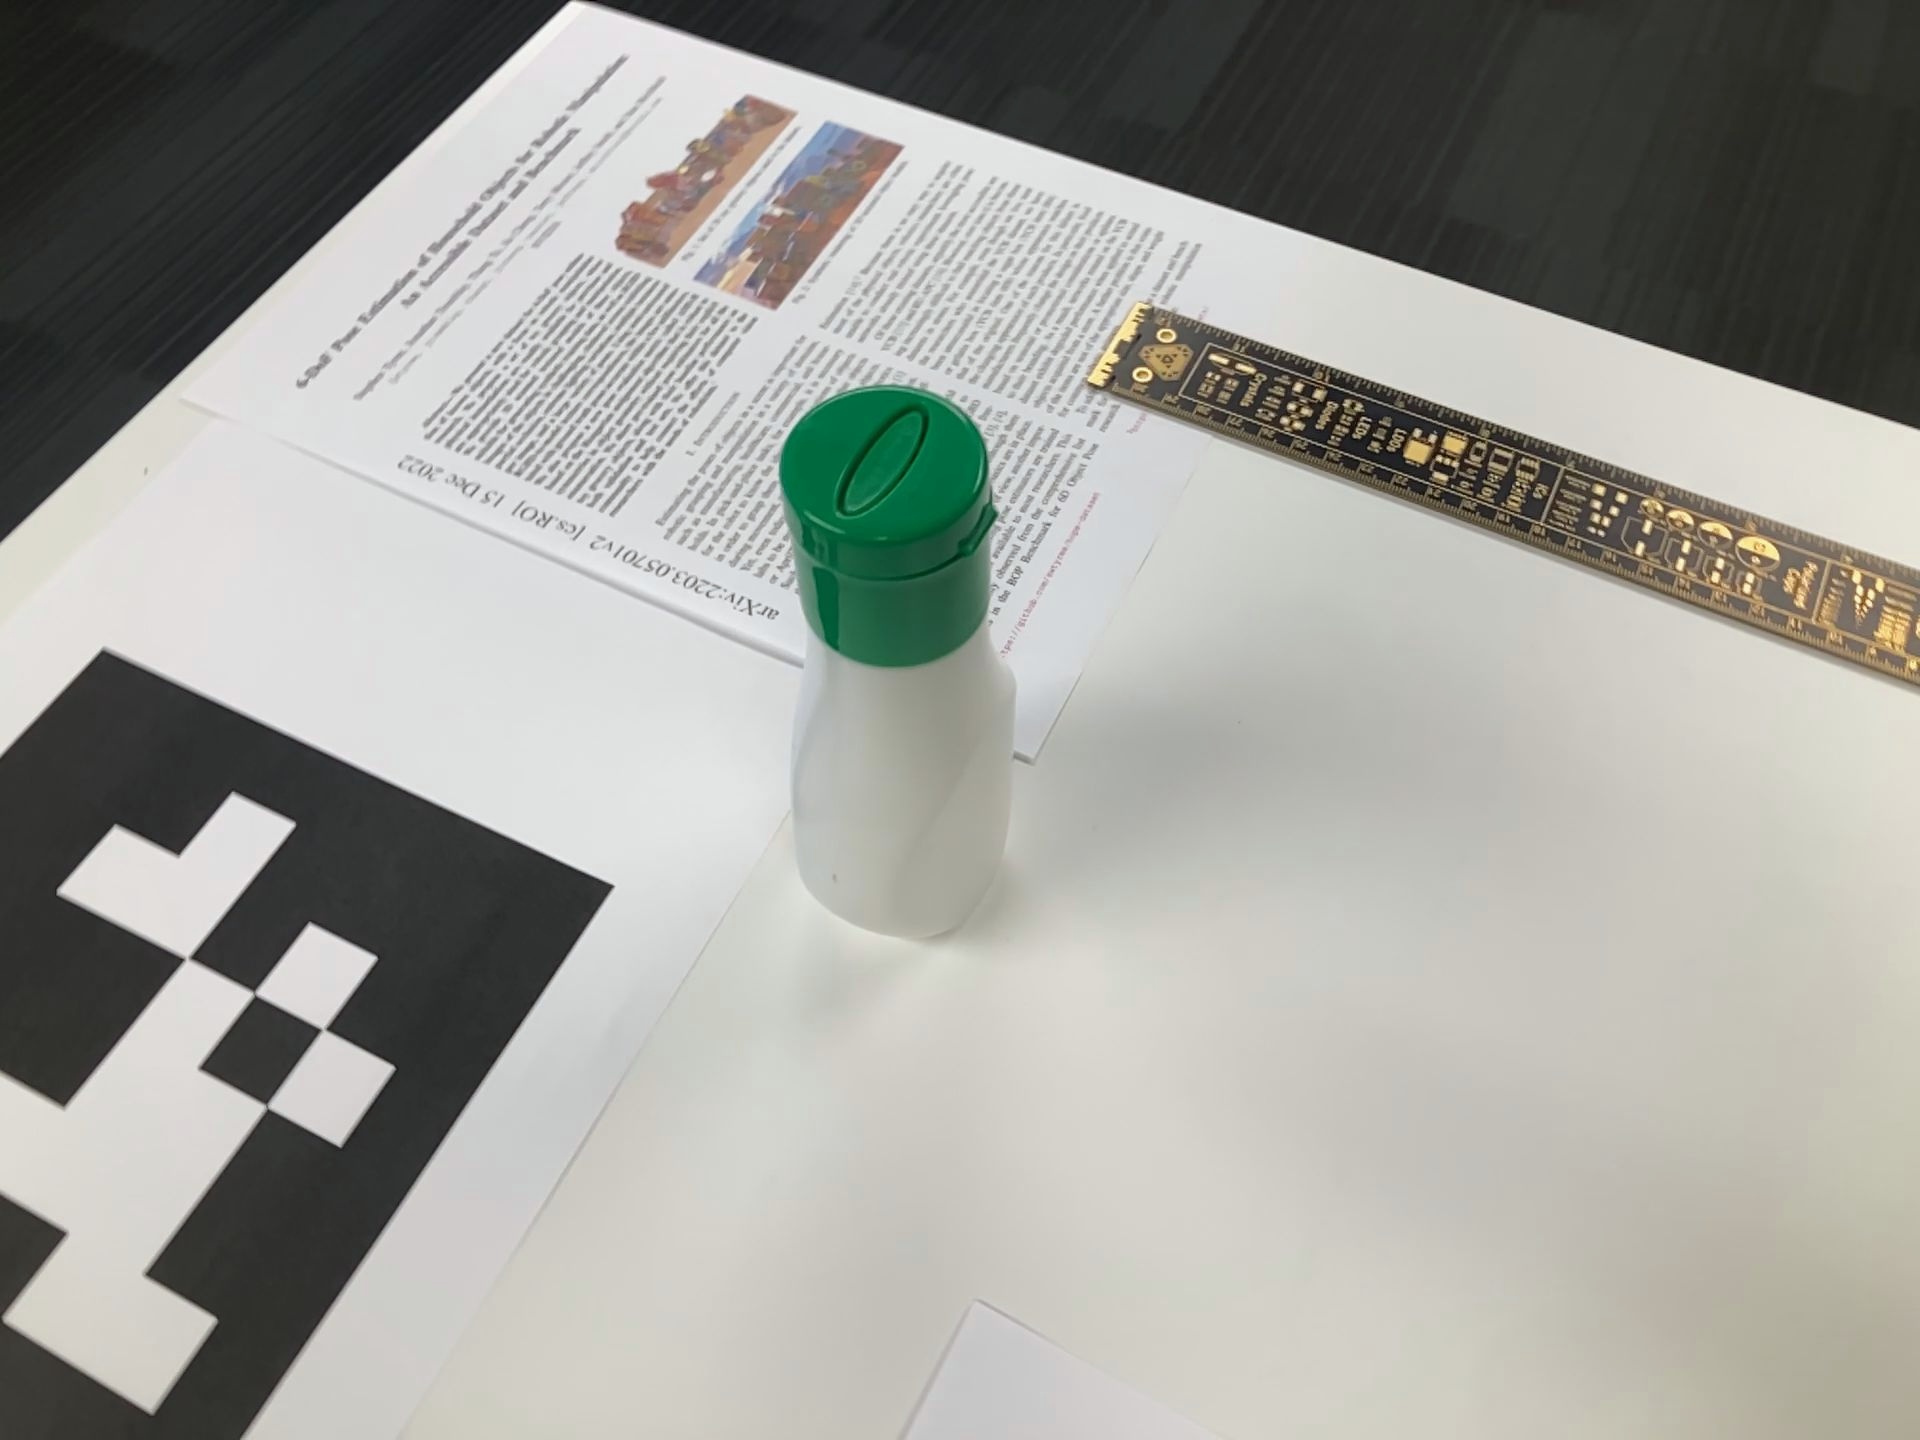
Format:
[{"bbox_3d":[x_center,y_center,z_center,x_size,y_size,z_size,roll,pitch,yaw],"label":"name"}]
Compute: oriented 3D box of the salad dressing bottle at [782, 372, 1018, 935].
[{"bbox_3d":[-0.012,-0.007,0.329,0.044,0.147,0.064,23,60,14],"label":"salad dressing bottle"}]
